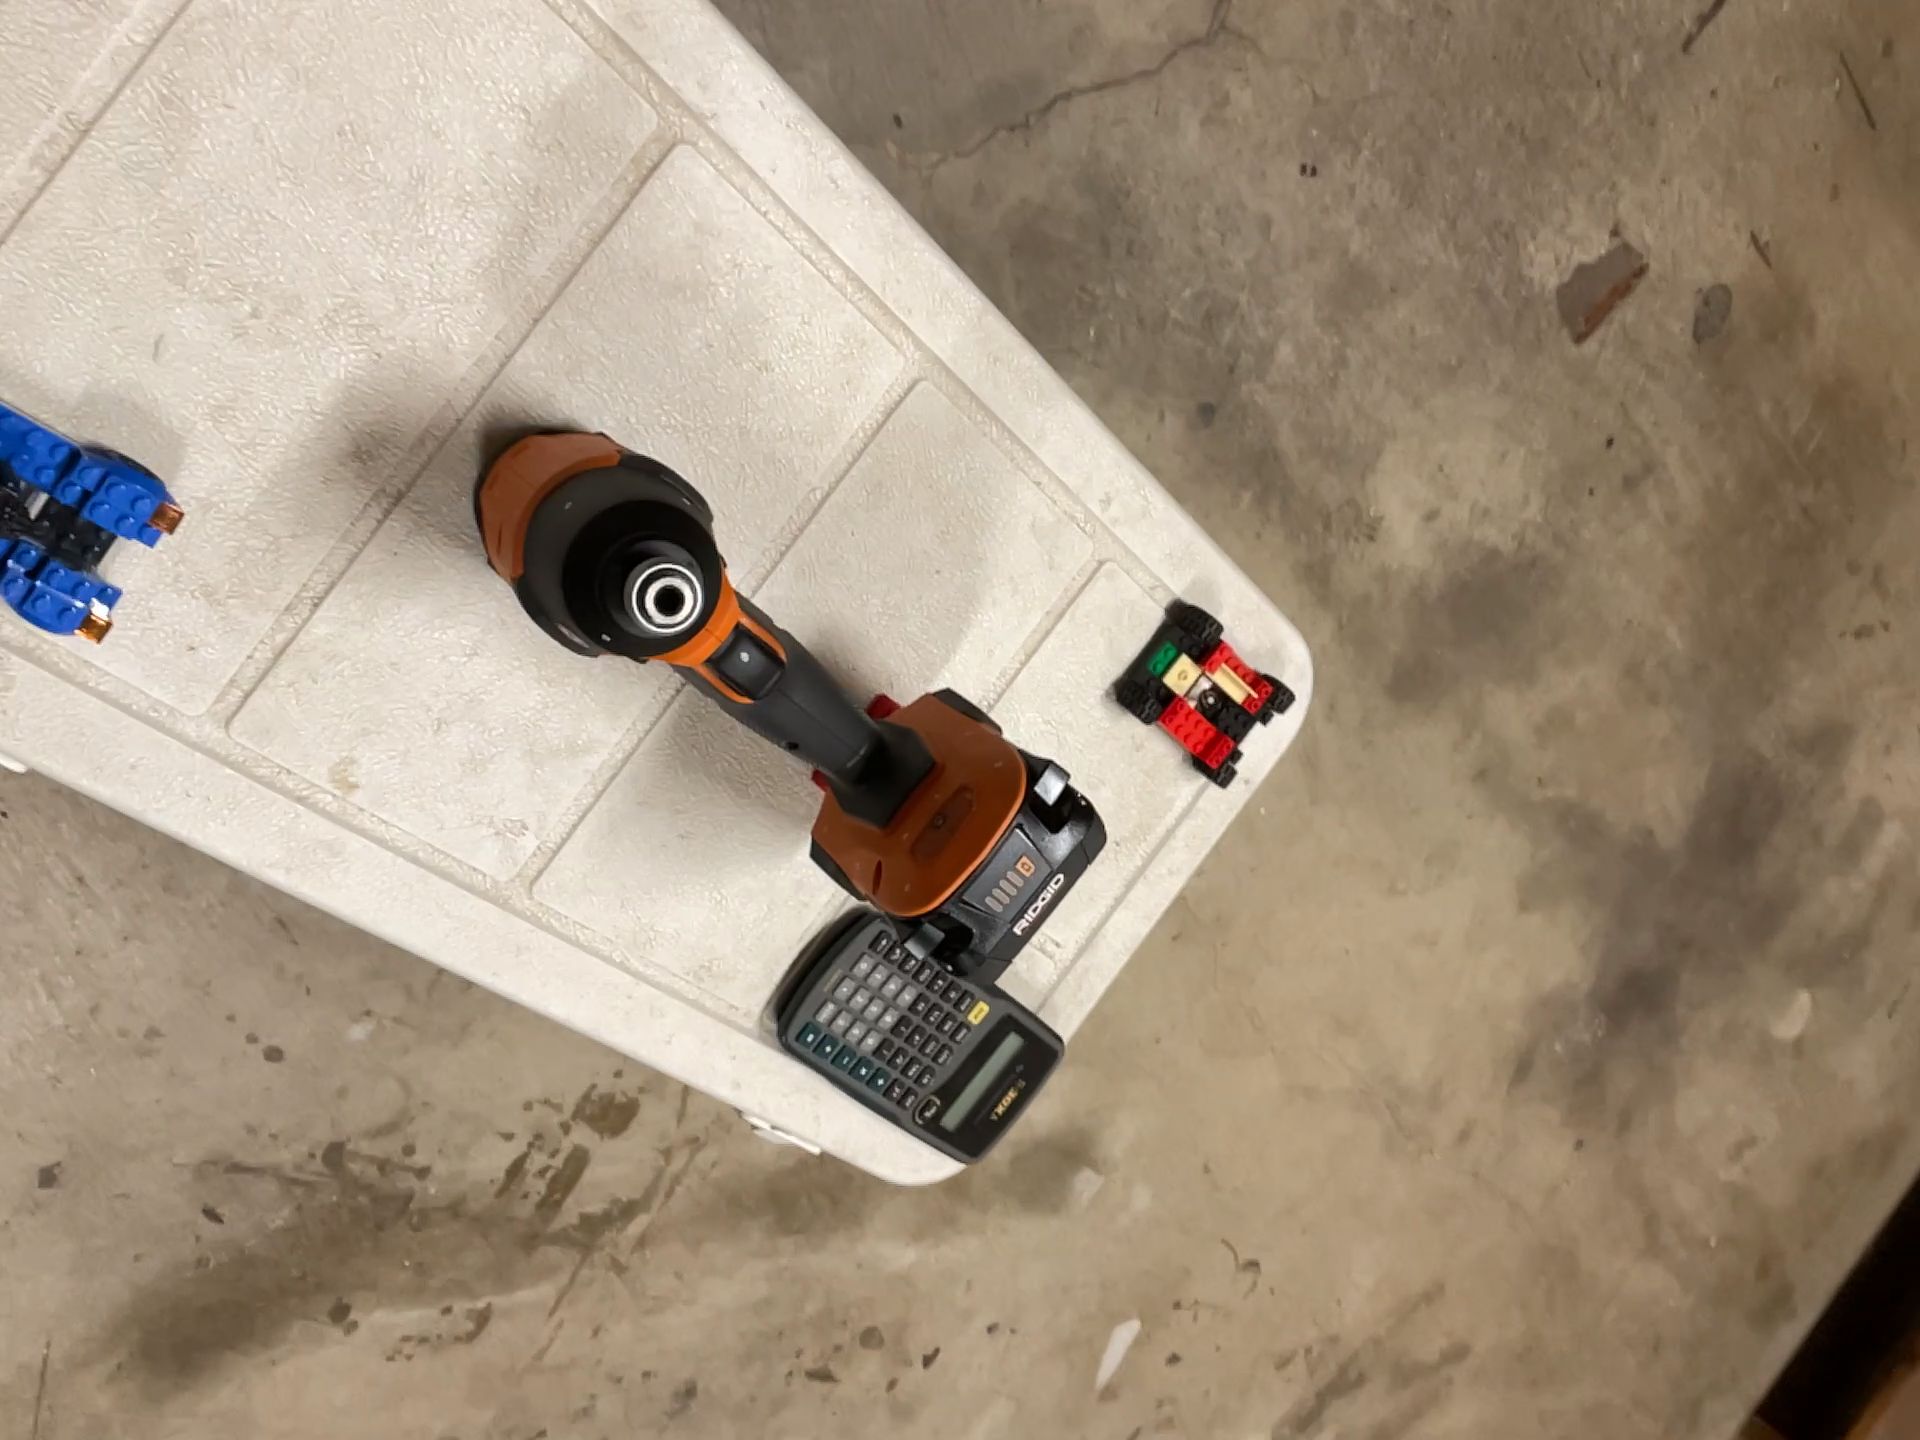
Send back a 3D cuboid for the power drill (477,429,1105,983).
[{"bbox_3d":[-0.057,-0.006,0.543,0.226,0.164,0.084,41,87,-27],"label":"power drill"}]
